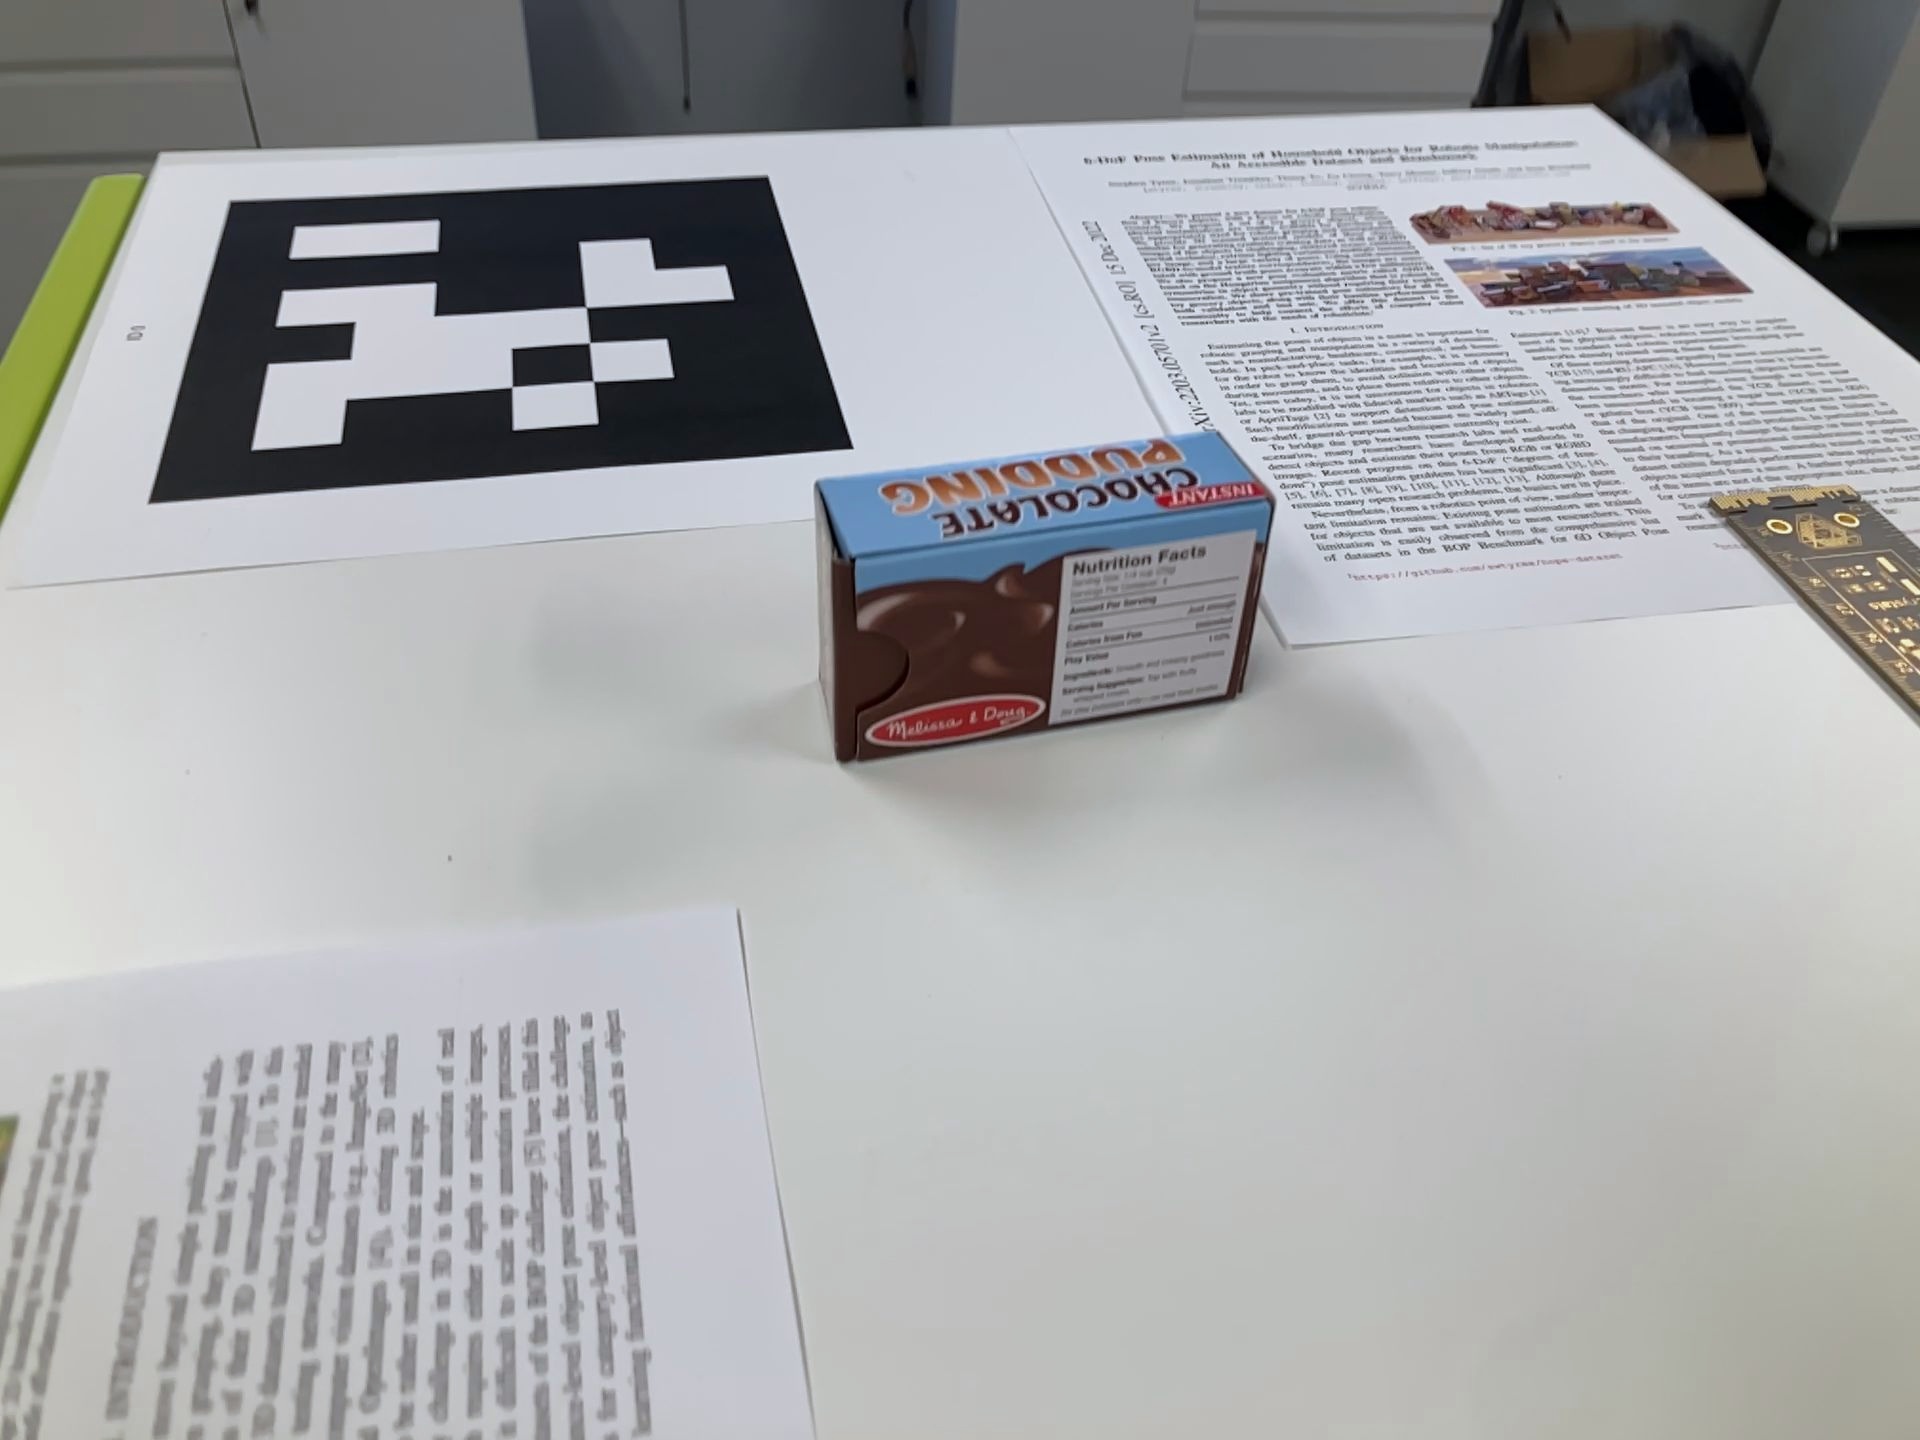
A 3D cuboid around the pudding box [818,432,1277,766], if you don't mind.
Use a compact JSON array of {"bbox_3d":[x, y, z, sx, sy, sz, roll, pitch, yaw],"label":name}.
[{"bbox_3d":[0.015,-0.024,0.307,0.083,0.049,0.030,-9,42,-13],"label":"pudding box"}]
